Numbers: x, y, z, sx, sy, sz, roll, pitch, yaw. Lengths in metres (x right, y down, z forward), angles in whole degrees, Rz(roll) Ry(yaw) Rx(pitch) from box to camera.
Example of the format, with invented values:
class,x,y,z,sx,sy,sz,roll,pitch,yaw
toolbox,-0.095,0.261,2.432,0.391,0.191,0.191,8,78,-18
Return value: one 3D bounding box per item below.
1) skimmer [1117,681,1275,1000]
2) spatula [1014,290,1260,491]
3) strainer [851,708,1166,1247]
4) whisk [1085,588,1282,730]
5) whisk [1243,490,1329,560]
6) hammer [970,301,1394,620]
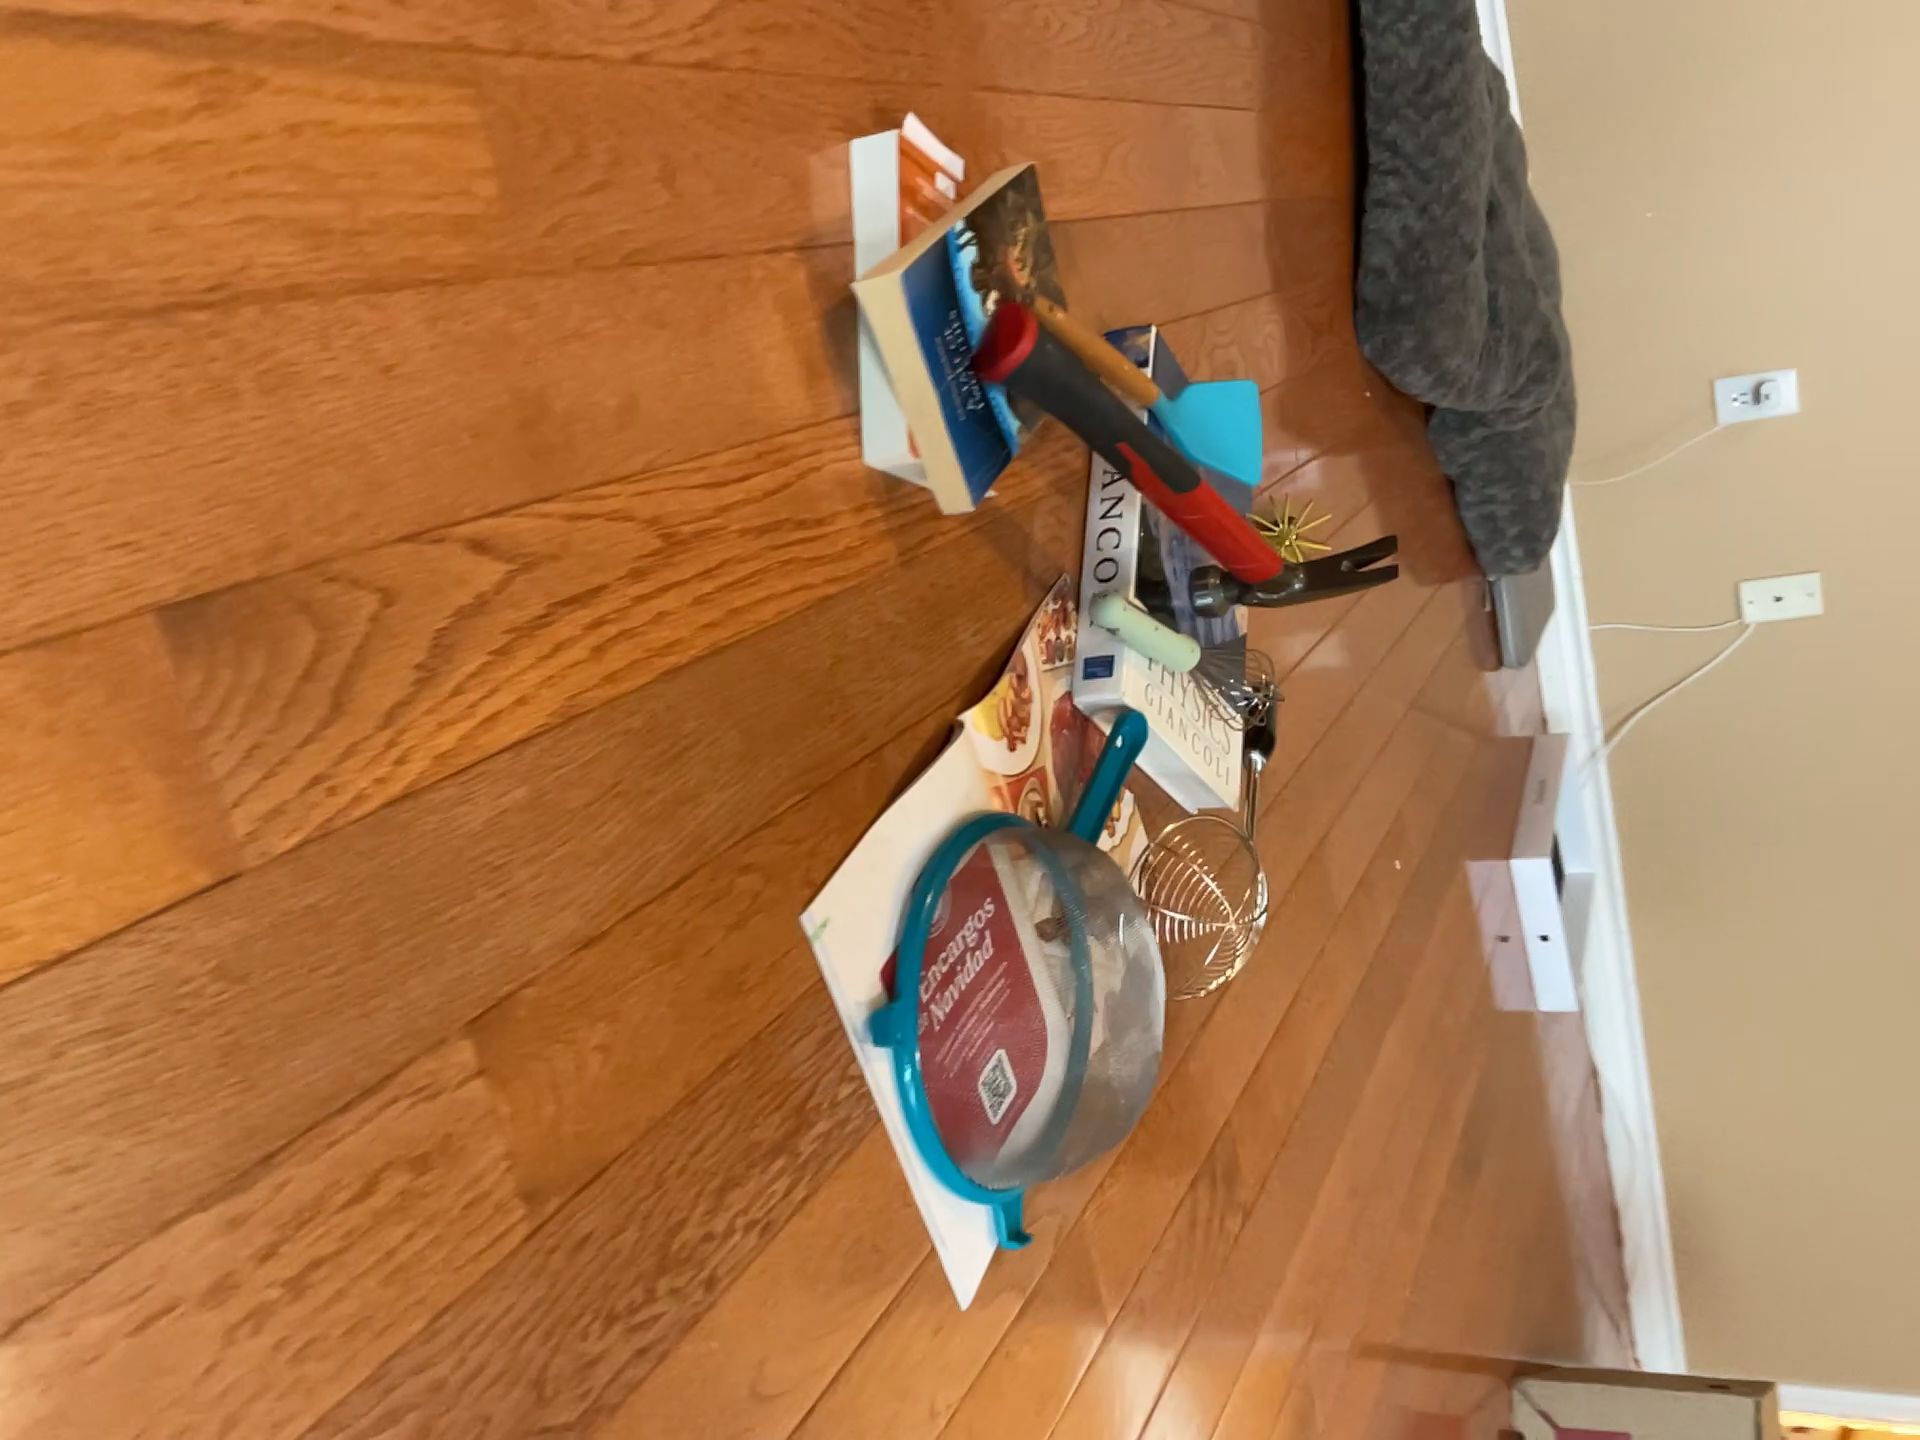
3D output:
class,x,y,z,sx,sy,sz,roll,pitch,yaw
skimmer,0.185,0.066,1.182,0.364,0.090,0.127,-65,138,-60
spatula,0.119,-0.218,1.018,0.317,0.044,0.082,12,76,-60
strainer,0.077,0.110,0.886,0.341,0.095,0.211,-58,134,-39
whisk,0.149,-0.042,1.049,0.246,0.058,0.059,23,96,-53
whisk,0.264,-0.151,1.301,0.080,0.067,0.312,65,16,-4
hammer,0.135,-0.147,0.951,0.386,0.143,0.038,28,58,-54
